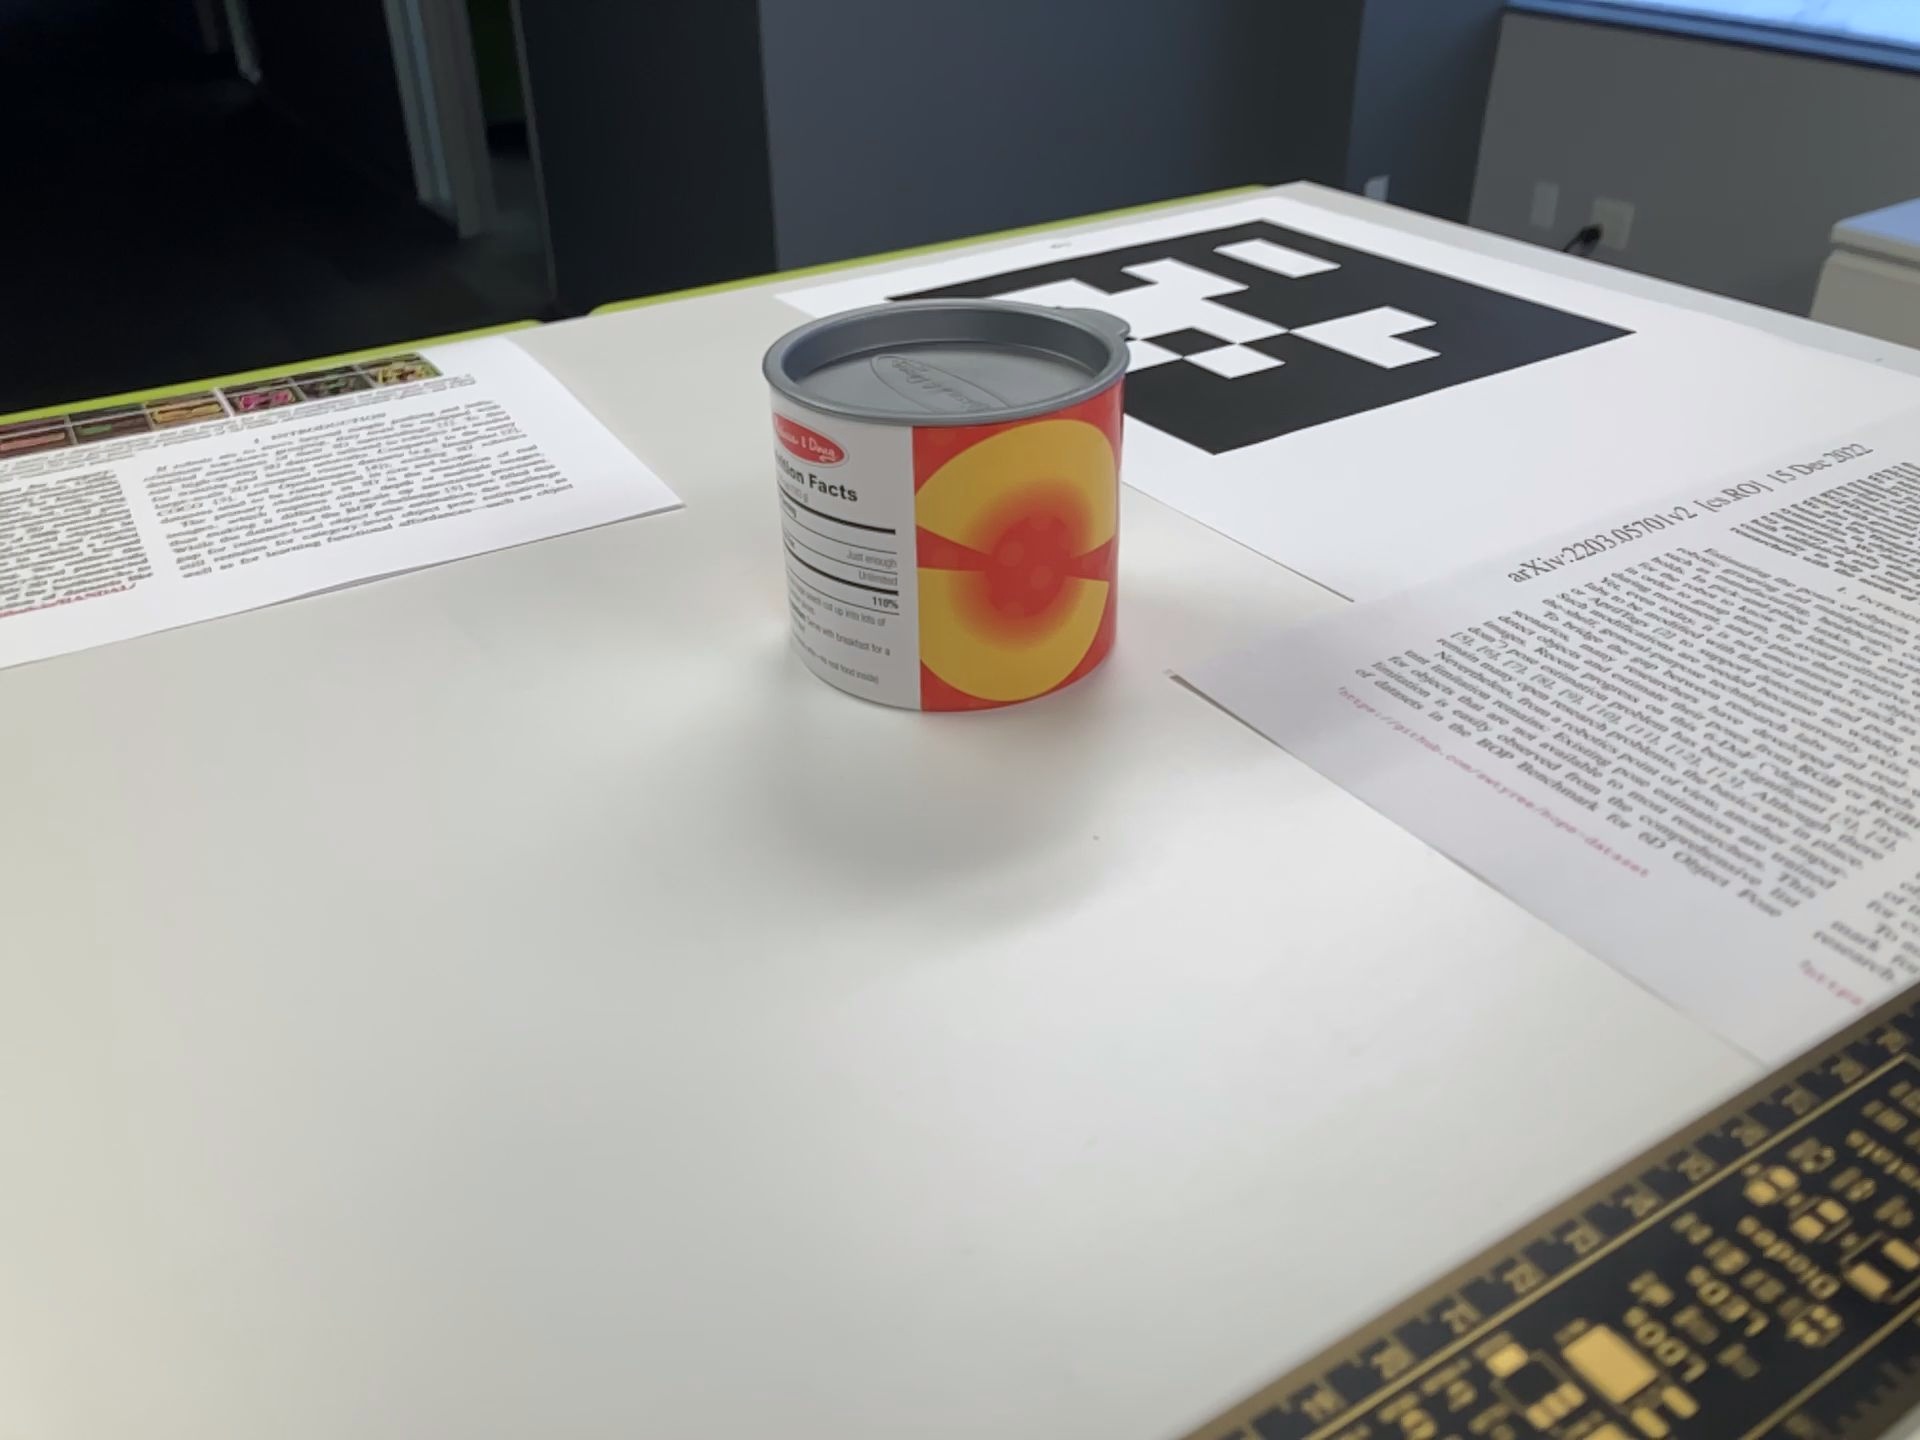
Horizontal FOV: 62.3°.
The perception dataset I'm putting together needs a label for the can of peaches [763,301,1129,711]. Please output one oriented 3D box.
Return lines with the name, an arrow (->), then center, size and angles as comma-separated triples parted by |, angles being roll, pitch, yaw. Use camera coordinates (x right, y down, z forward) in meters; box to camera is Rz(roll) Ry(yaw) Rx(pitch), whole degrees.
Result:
can of peaches -> 0.000, -0.043, 0.303 | 0.071, 0.058, 0.071 | -1, 30, 0
